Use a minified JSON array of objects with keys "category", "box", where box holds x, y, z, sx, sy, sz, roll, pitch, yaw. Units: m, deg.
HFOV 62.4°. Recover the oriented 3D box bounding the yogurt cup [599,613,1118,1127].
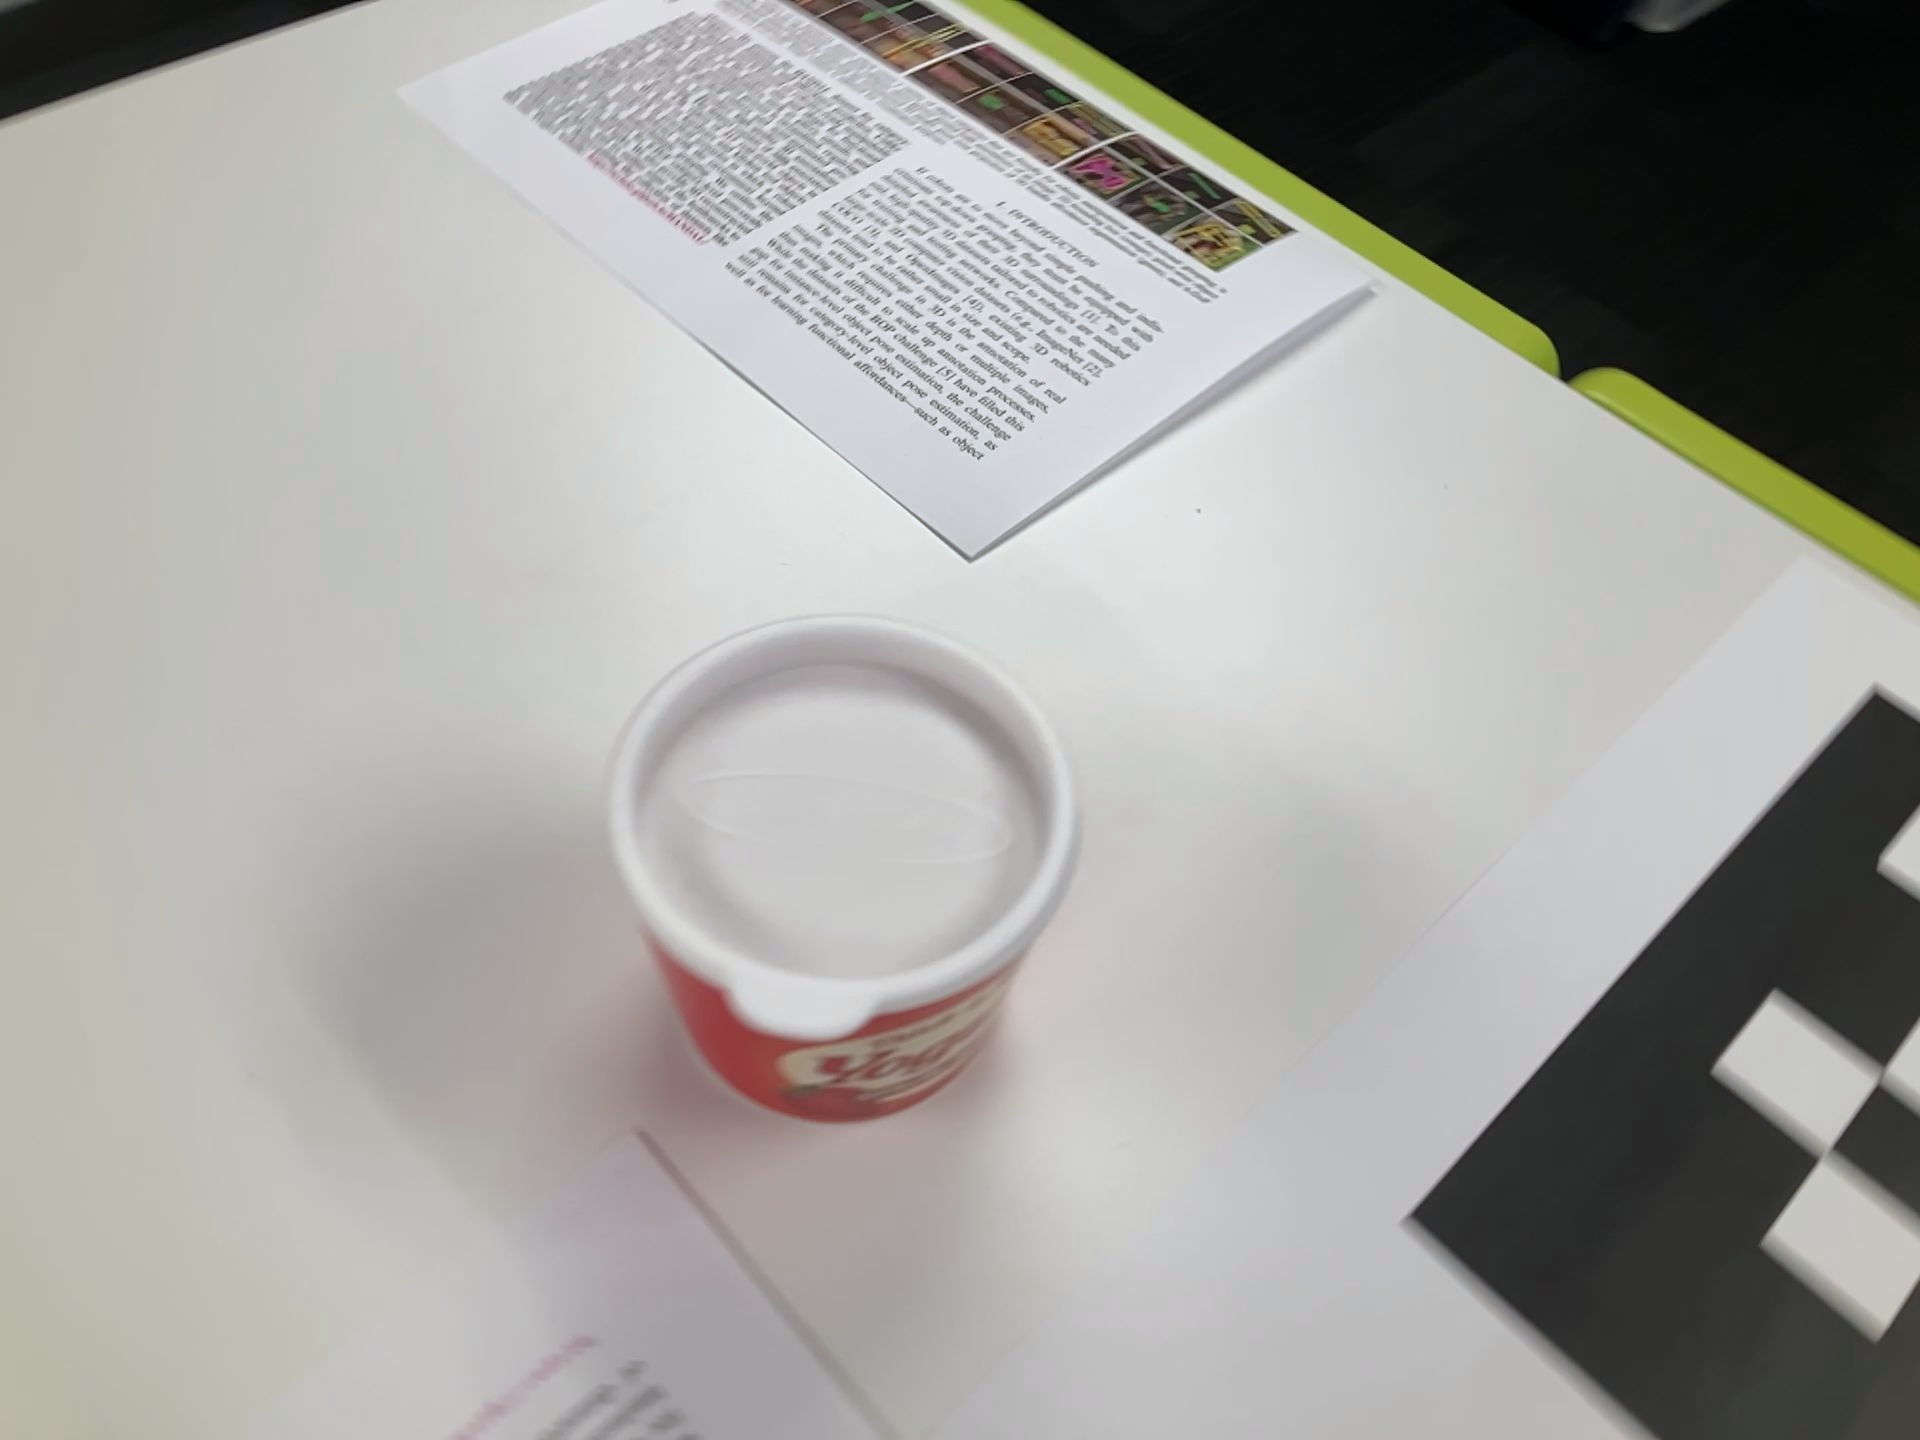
[{"category":"yogurt cup","box":[-0.018,0.026,0.241,0.072,0.054,0.072,3,51,-3]}]
